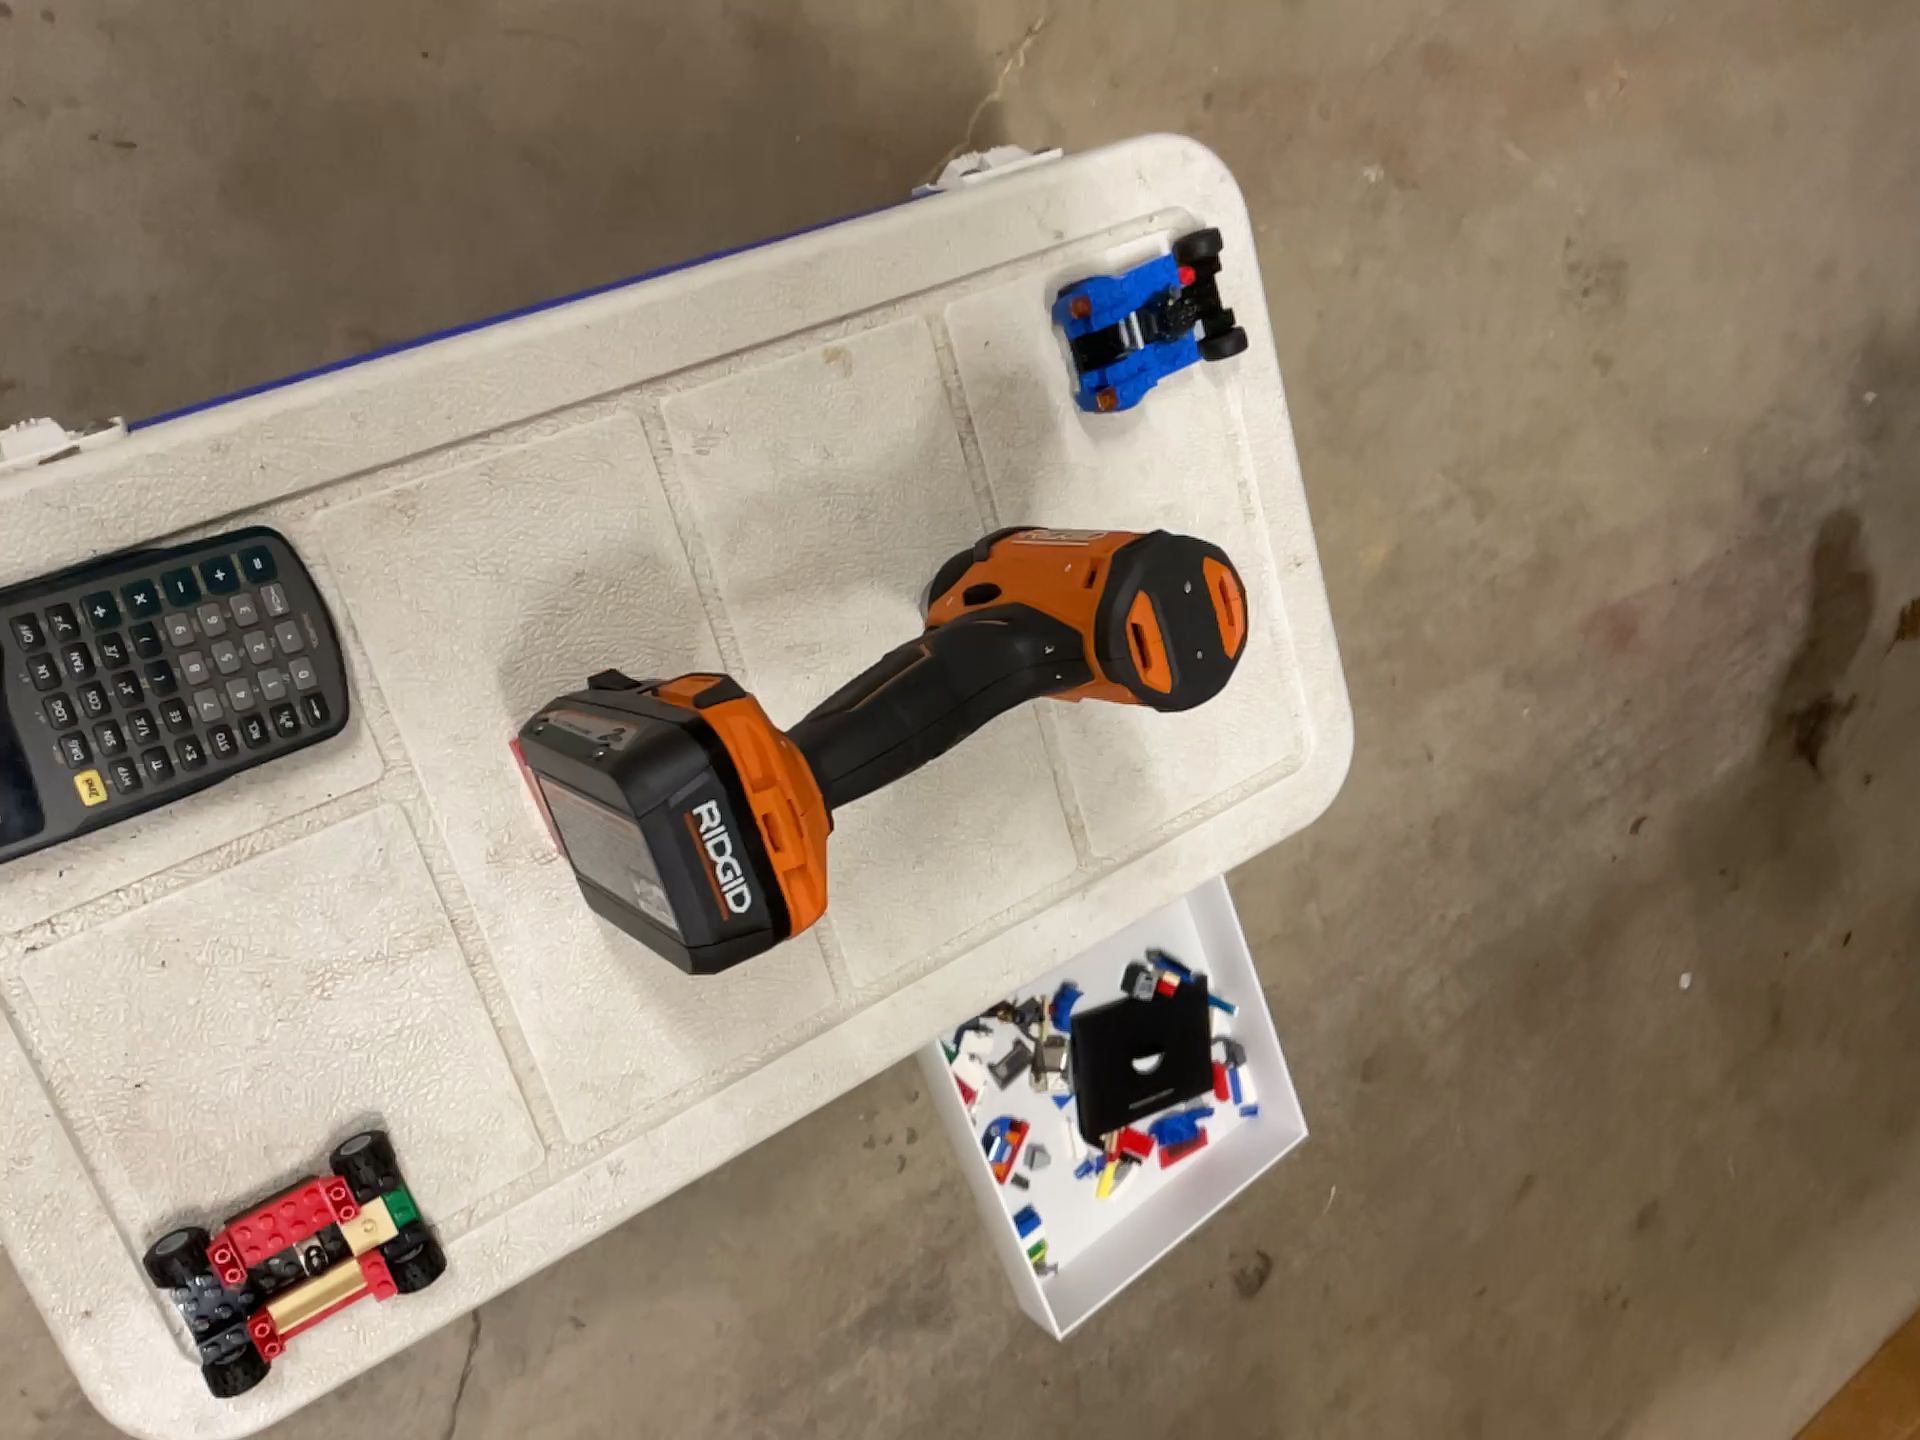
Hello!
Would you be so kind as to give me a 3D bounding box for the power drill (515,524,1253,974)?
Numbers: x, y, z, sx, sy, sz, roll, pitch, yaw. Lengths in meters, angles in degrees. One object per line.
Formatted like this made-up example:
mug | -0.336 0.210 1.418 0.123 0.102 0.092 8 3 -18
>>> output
power drill | -0.031 -0.007 0.562 0.226 0.164 0.084 -27 110 -26
